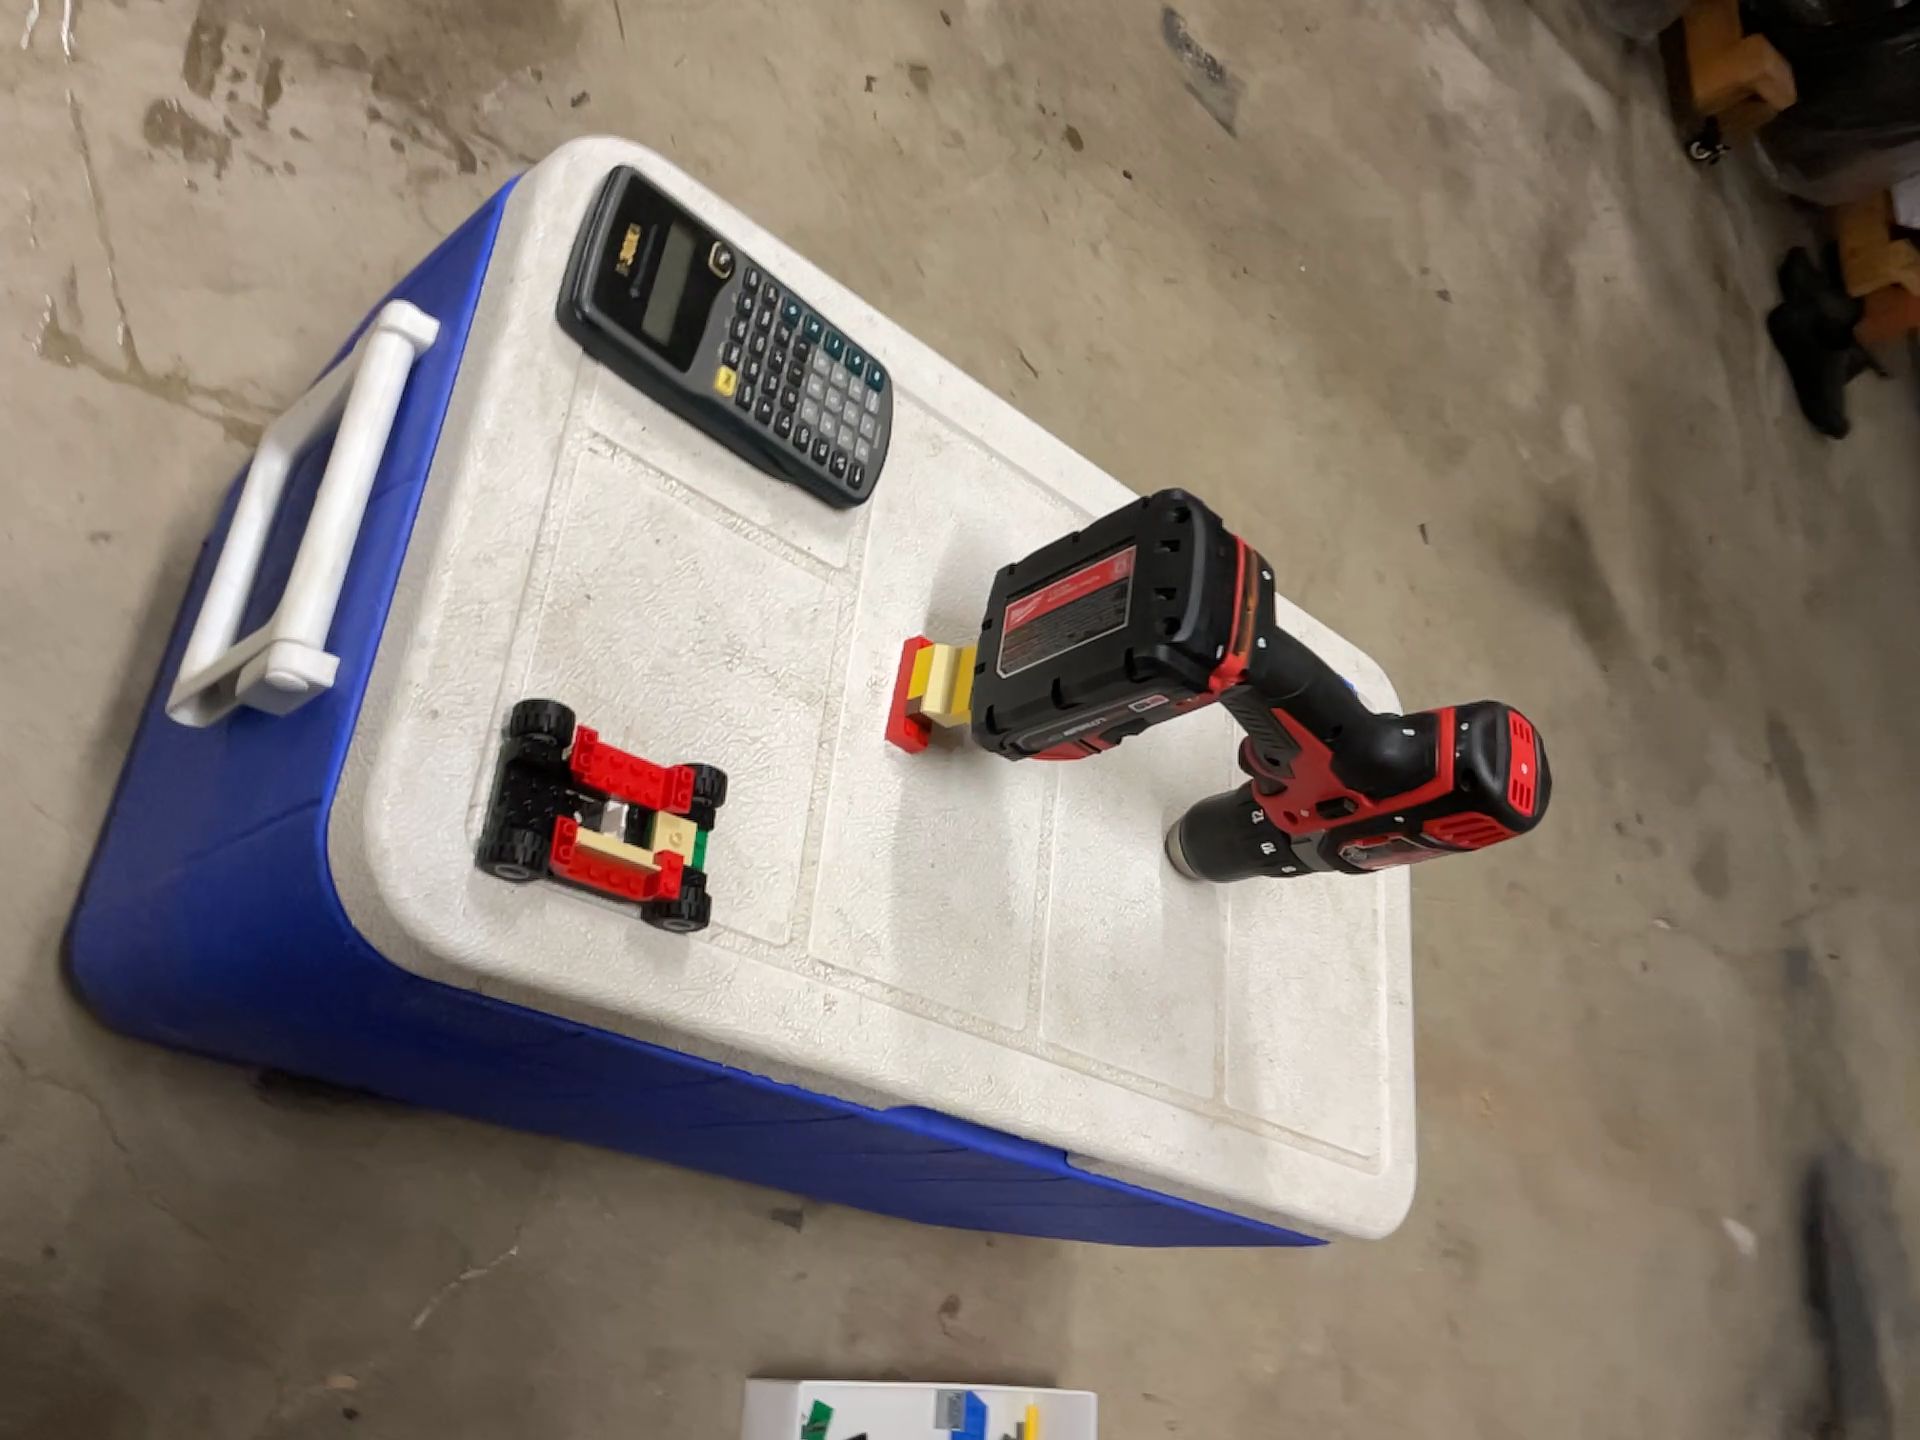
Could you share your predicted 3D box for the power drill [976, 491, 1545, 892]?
[{"bbox_3d":[0.112,0.010,0.687,0.226,0.187,0.080,28,57,-31],"label":"power drill"}]
